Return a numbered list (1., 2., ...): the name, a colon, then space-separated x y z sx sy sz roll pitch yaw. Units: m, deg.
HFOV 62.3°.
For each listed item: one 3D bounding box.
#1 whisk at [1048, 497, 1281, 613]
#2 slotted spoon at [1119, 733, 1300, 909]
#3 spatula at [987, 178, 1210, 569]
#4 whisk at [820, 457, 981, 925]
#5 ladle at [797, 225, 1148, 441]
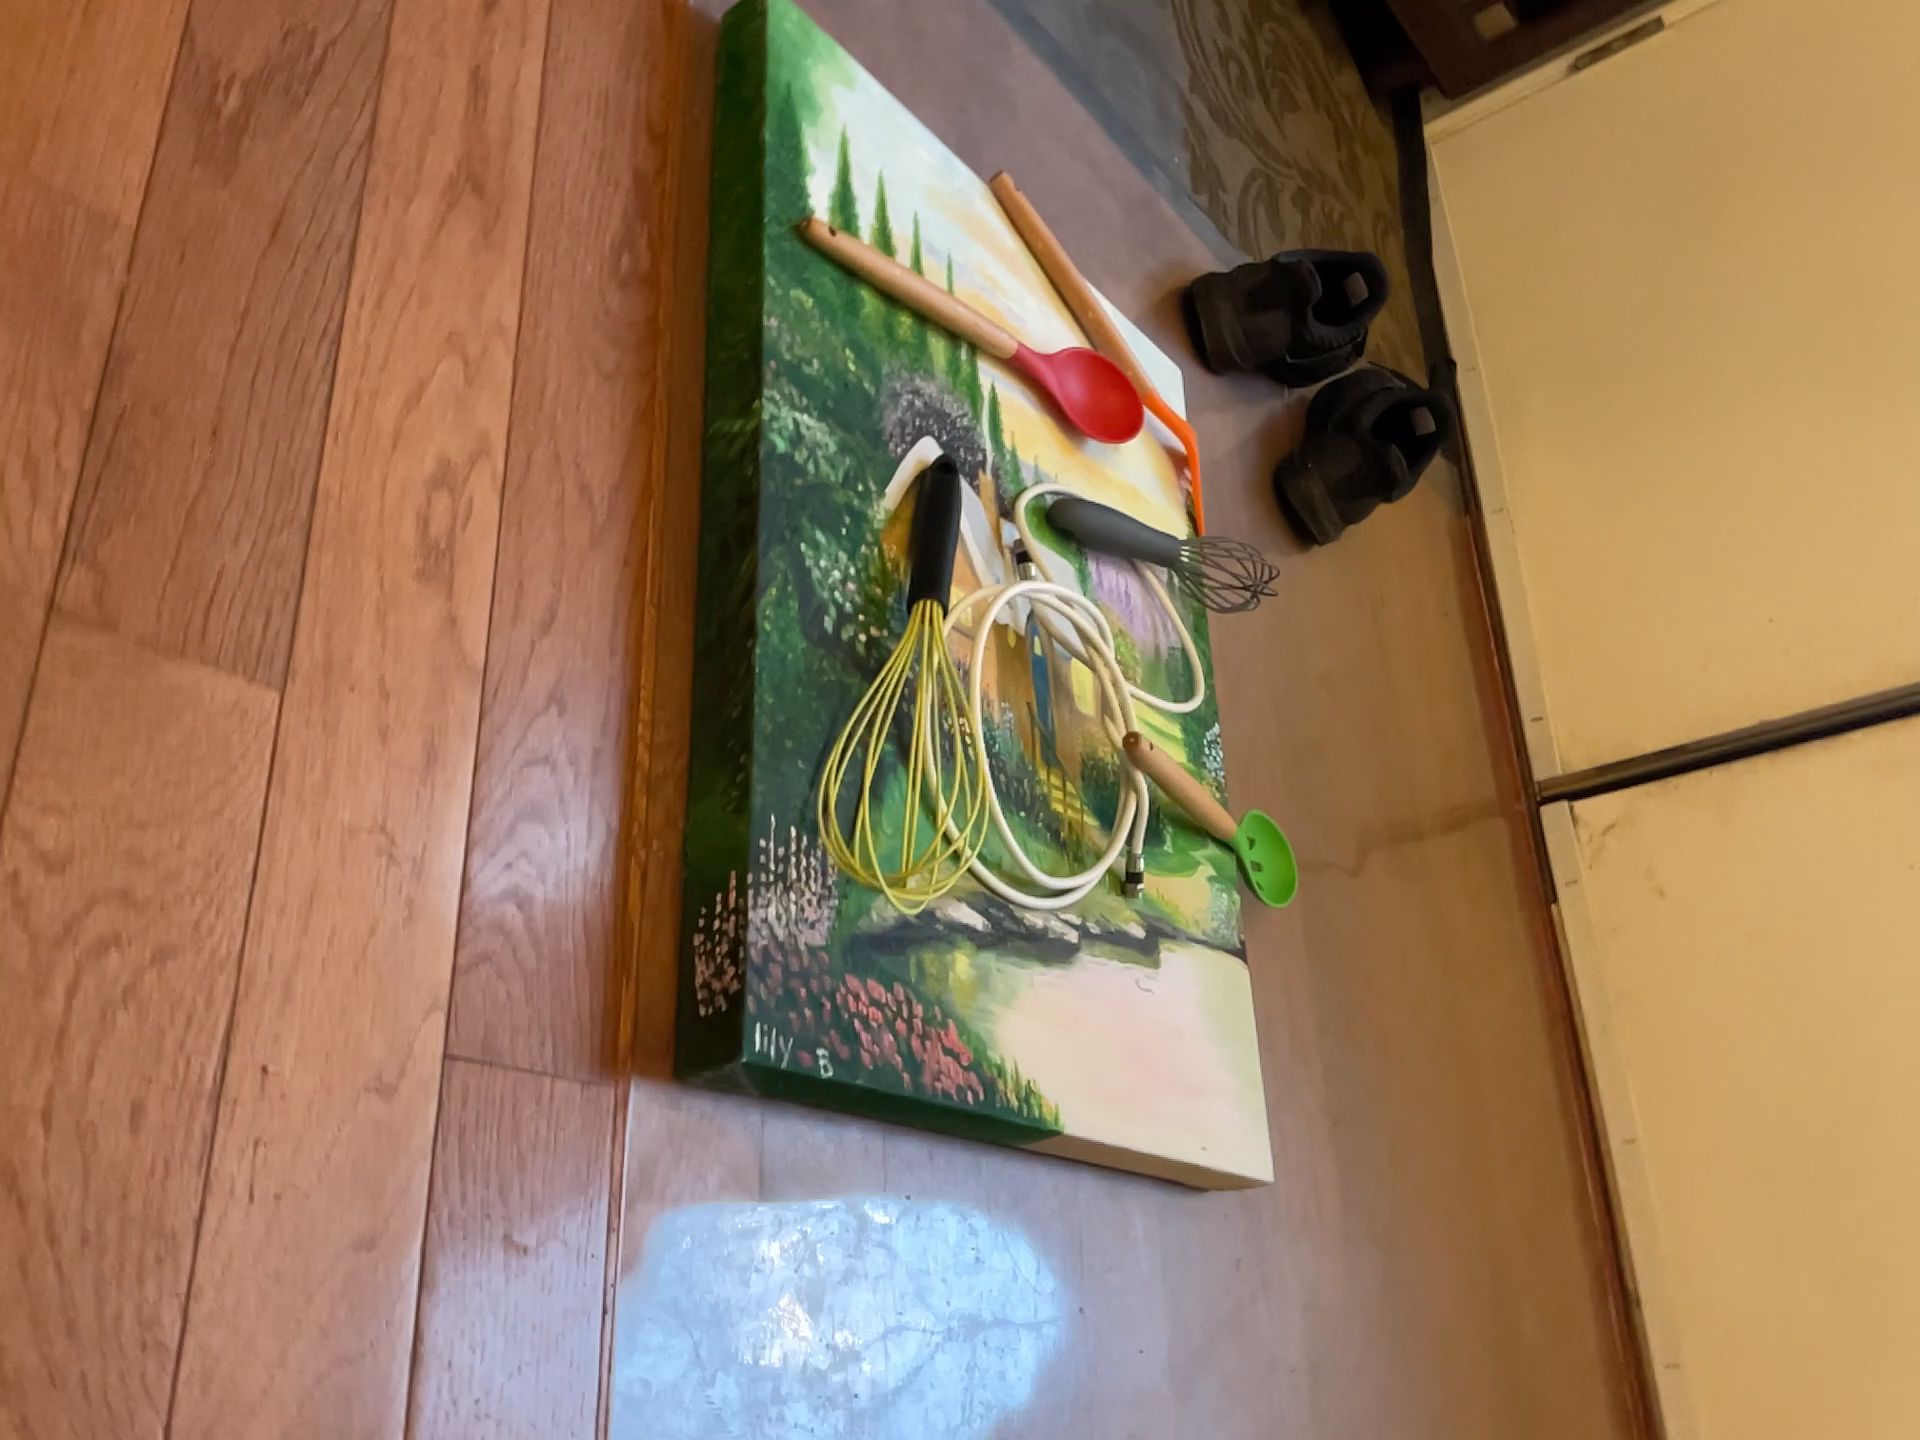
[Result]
1. whisk: 0.141 -0.114 1.073 0.238 0.055 0.055 12 54 -46
2. slotted spoon: 0.163 0.062 1.020 0.313 0.031 0.070 36 46 -57
3. spatula: 0.110 -0.246 1.130 0.322 0.041 0.081 48 28 -27
4. whisk: -0.021 -0.031 0.797 0.079 0.067 0.312 49 33 -38
5. ladle: 0.016 -0.236 0.973 0.315 0.031 0.069 14 61 -49
